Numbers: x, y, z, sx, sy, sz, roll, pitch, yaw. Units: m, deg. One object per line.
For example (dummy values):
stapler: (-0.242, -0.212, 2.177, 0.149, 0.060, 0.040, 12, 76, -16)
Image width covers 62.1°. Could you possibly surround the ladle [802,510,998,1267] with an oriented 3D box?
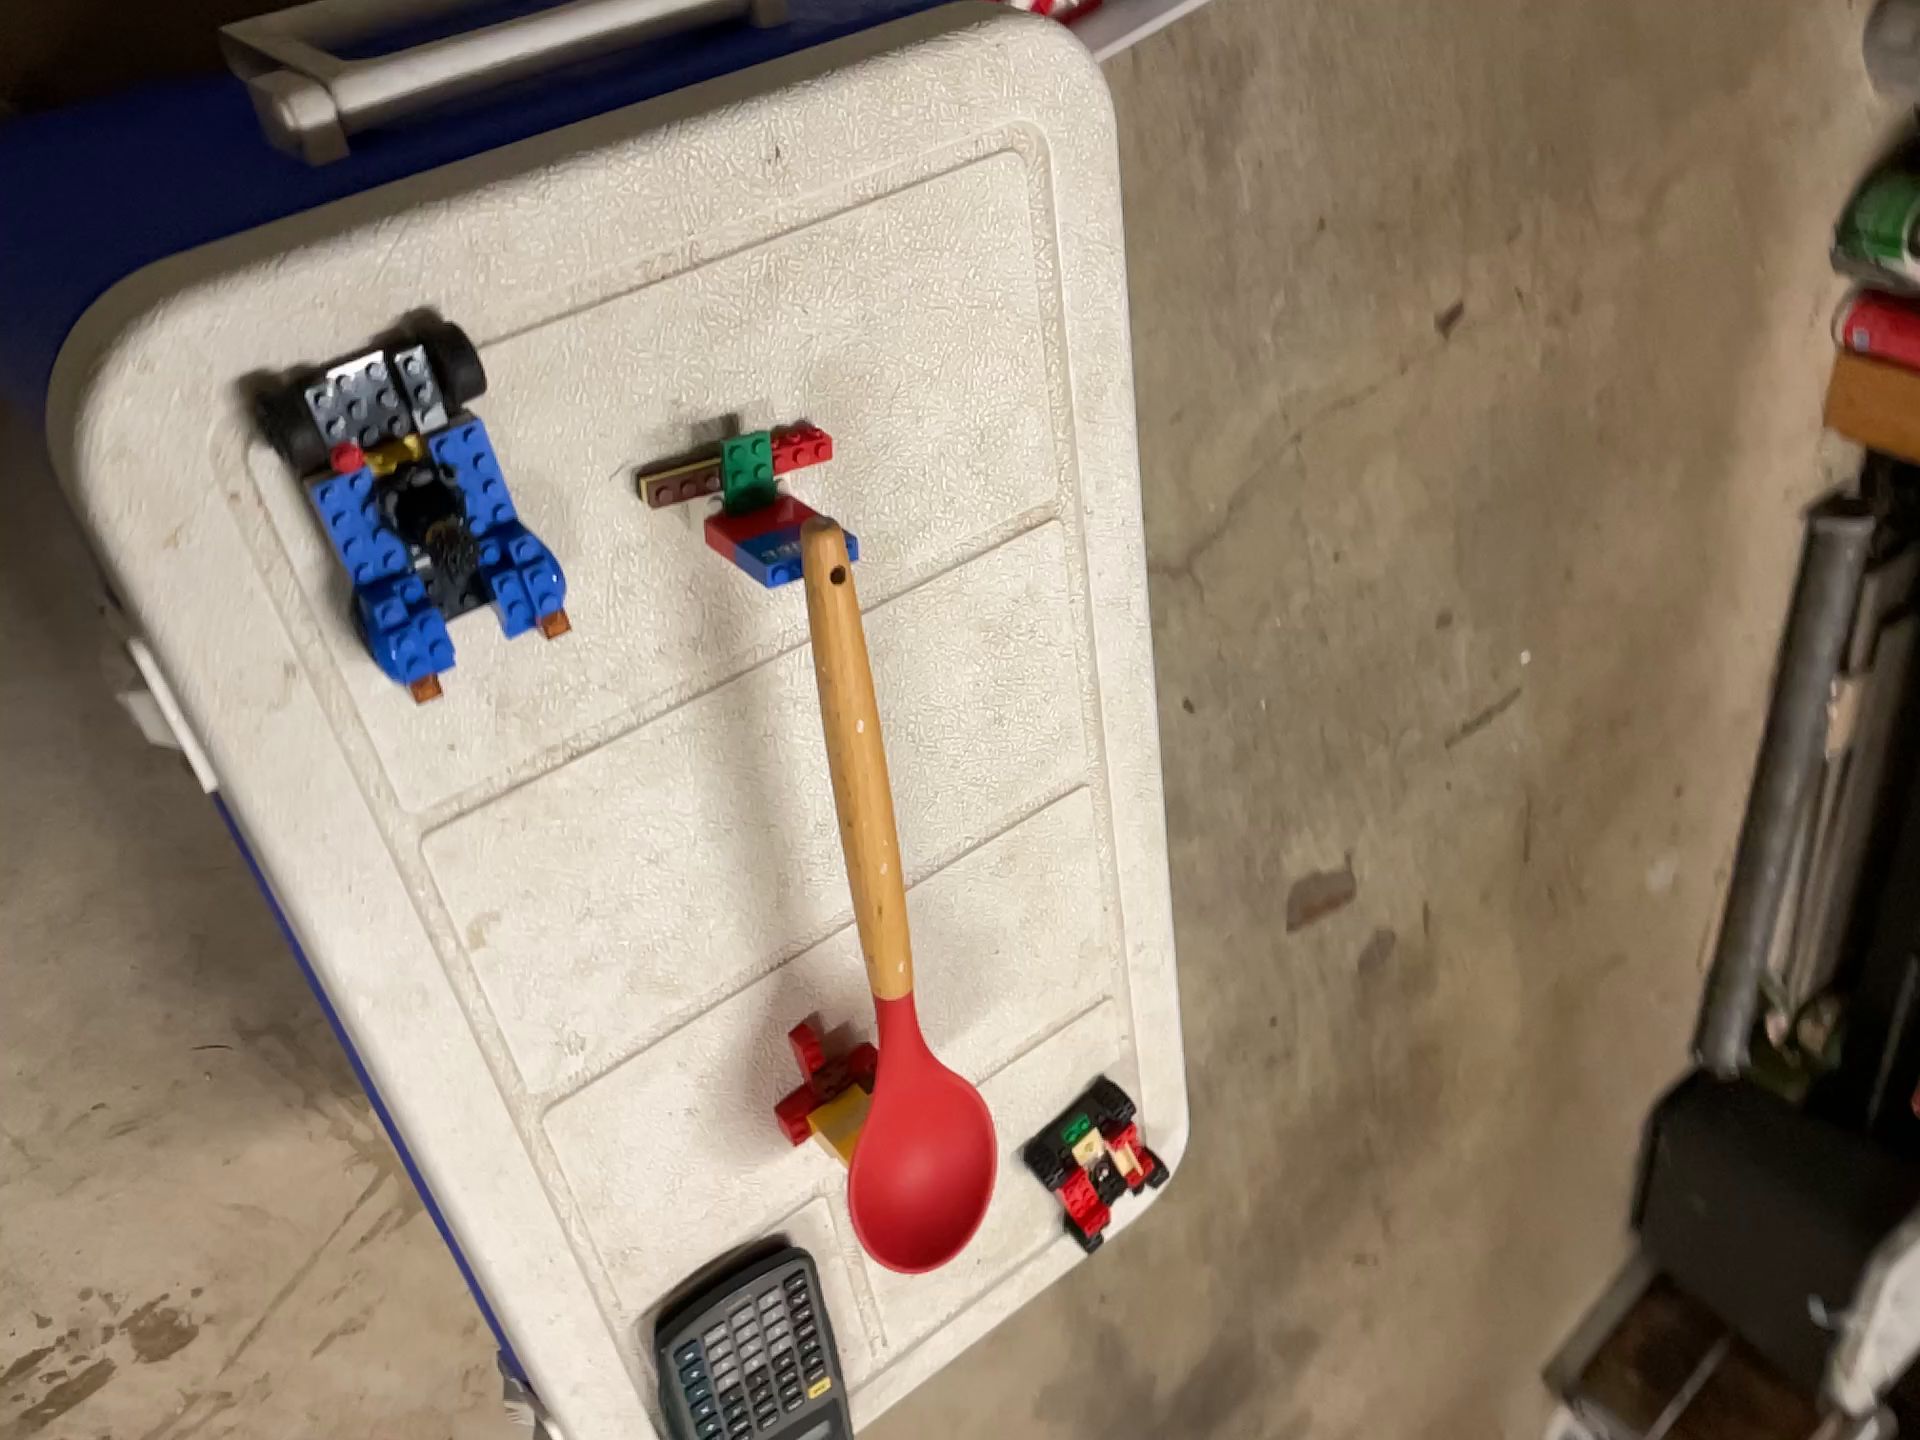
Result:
ladle: (-0.026, 0.072, 0.543, 0.069, 0.031, 0.315, -30, 131, -31)
